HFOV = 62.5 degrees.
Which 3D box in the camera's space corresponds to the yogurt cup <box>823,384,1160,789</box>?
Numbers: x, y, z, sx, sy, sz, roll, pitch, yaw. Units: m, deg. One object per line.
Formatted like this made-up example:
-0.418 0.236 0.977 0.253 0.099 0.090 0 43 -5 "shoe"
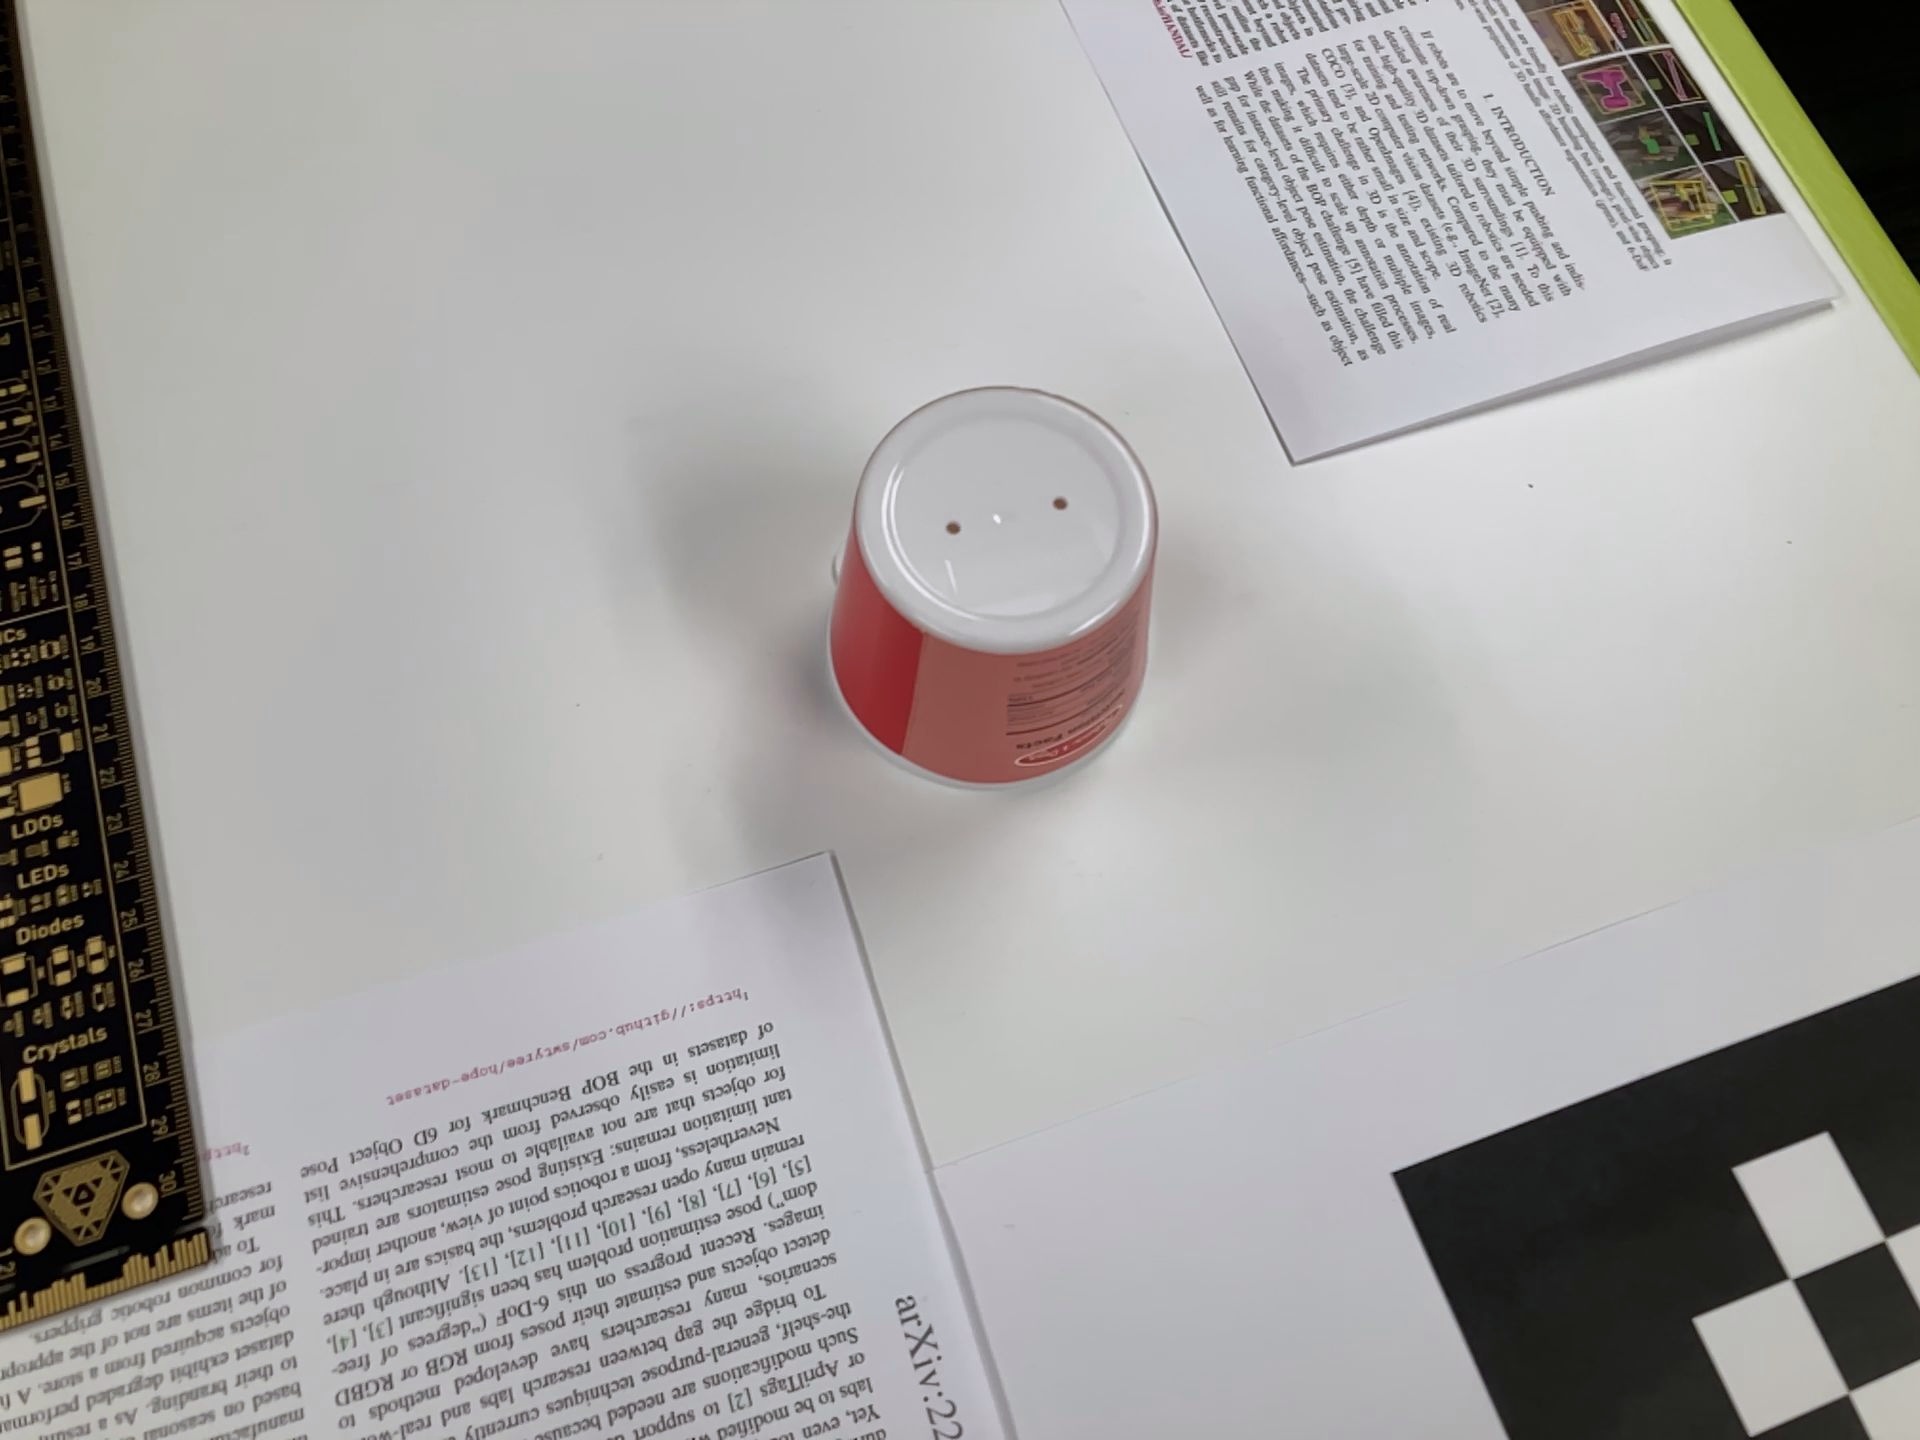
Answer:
0.007 -0.027 0.305 0.072 0.054 0.072 1 67 -3 "yogurt cup"
